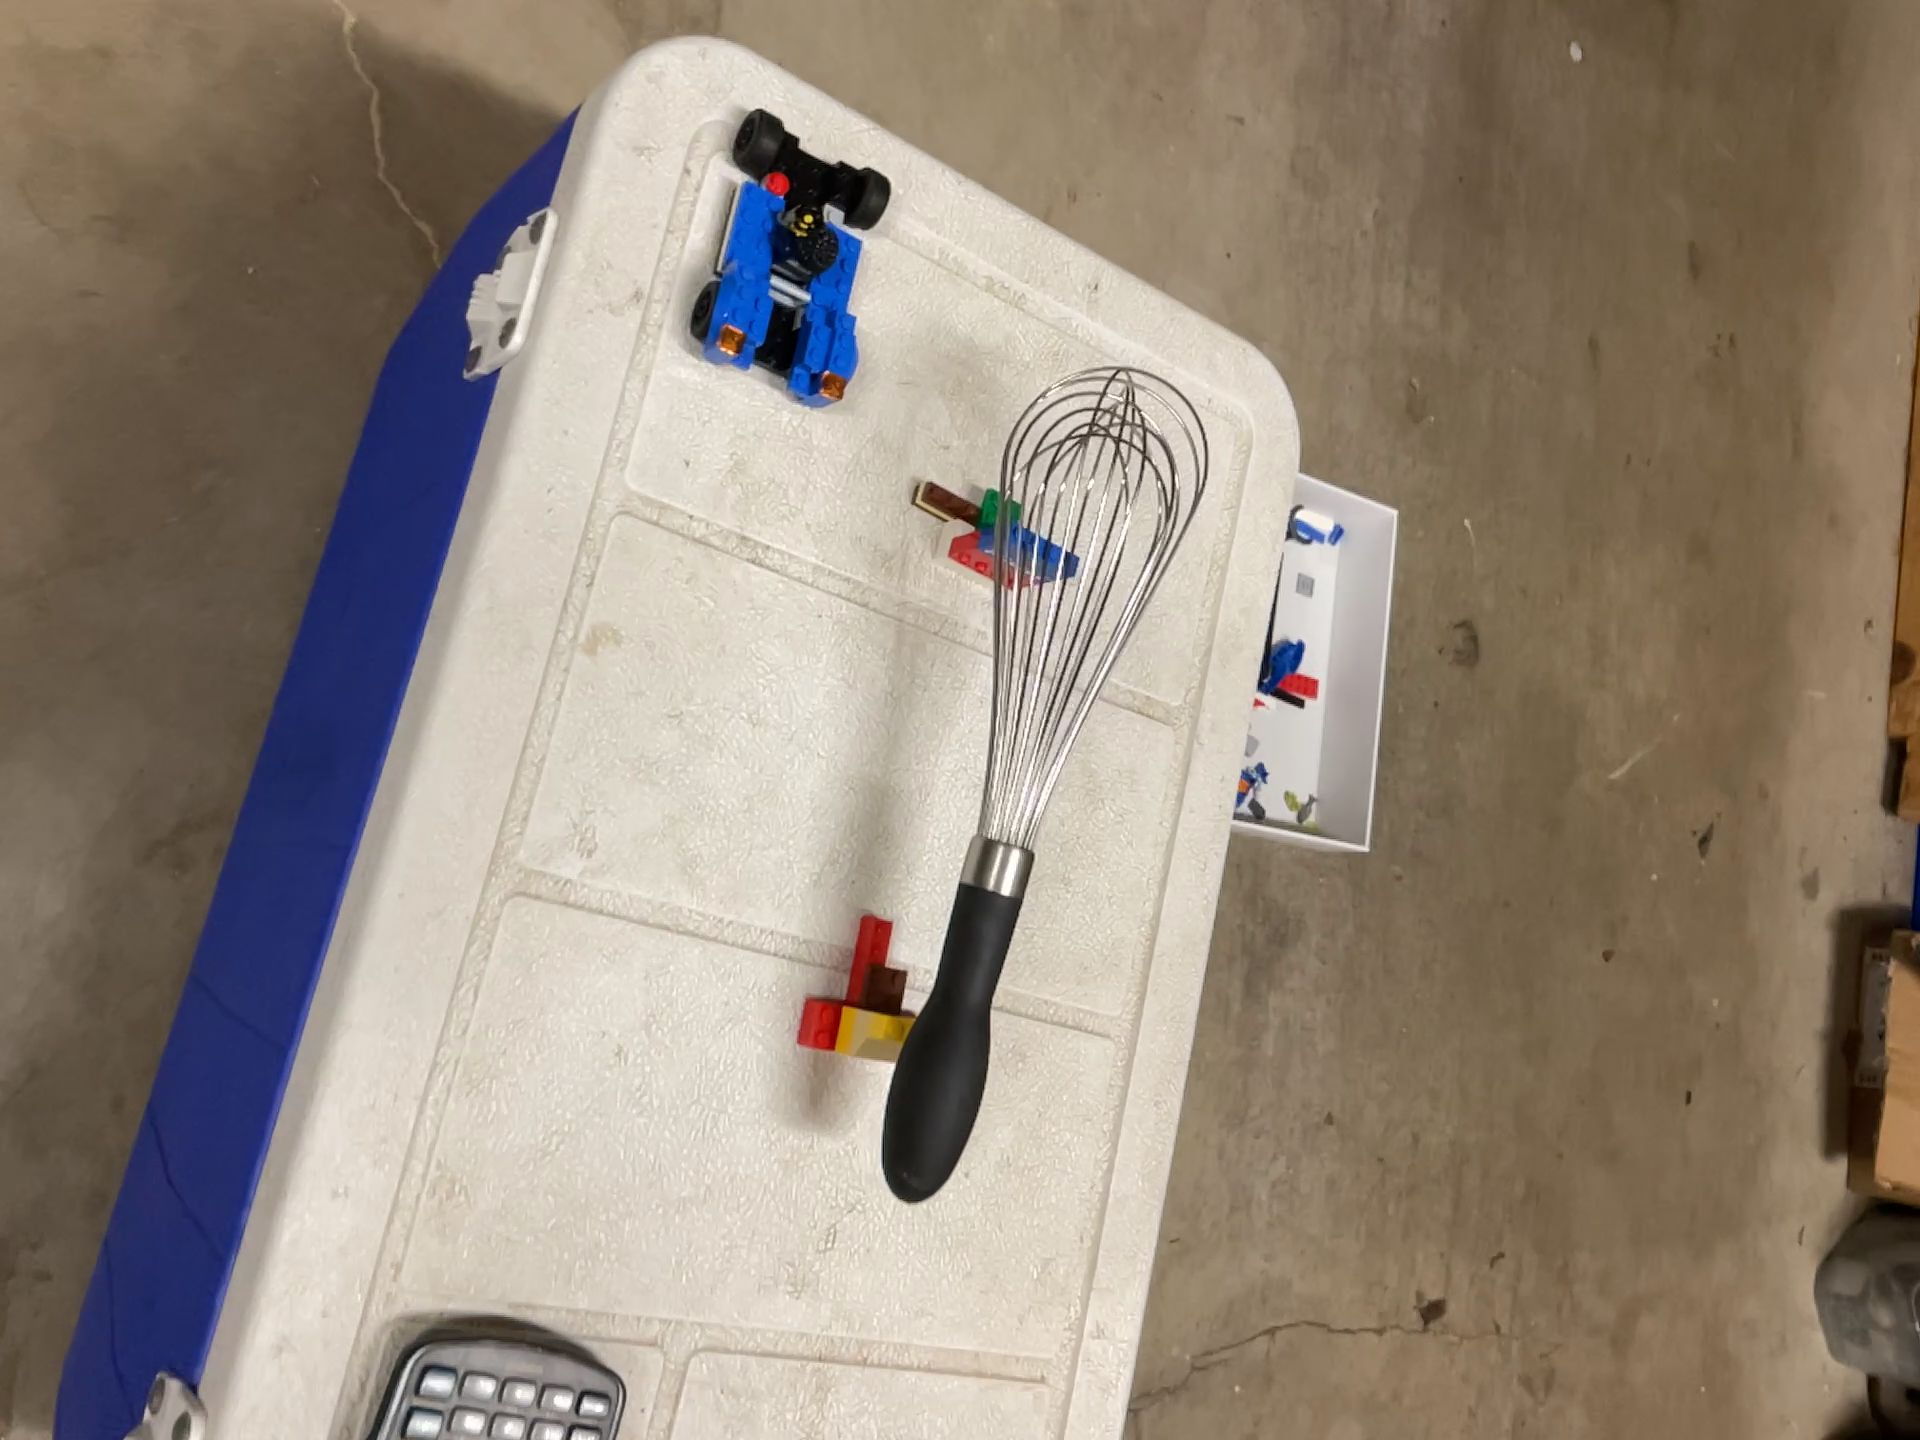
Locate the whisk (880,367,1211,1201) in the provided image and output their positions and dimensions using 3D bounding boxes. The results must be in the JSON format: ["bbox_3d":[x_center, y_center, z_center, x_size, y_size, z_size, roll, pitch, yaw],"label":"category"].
[{"bbox_3d":[0.022,0.018,0.528,0.070,0.070,0.284,19,83,-37],"label":"whisk"}]
